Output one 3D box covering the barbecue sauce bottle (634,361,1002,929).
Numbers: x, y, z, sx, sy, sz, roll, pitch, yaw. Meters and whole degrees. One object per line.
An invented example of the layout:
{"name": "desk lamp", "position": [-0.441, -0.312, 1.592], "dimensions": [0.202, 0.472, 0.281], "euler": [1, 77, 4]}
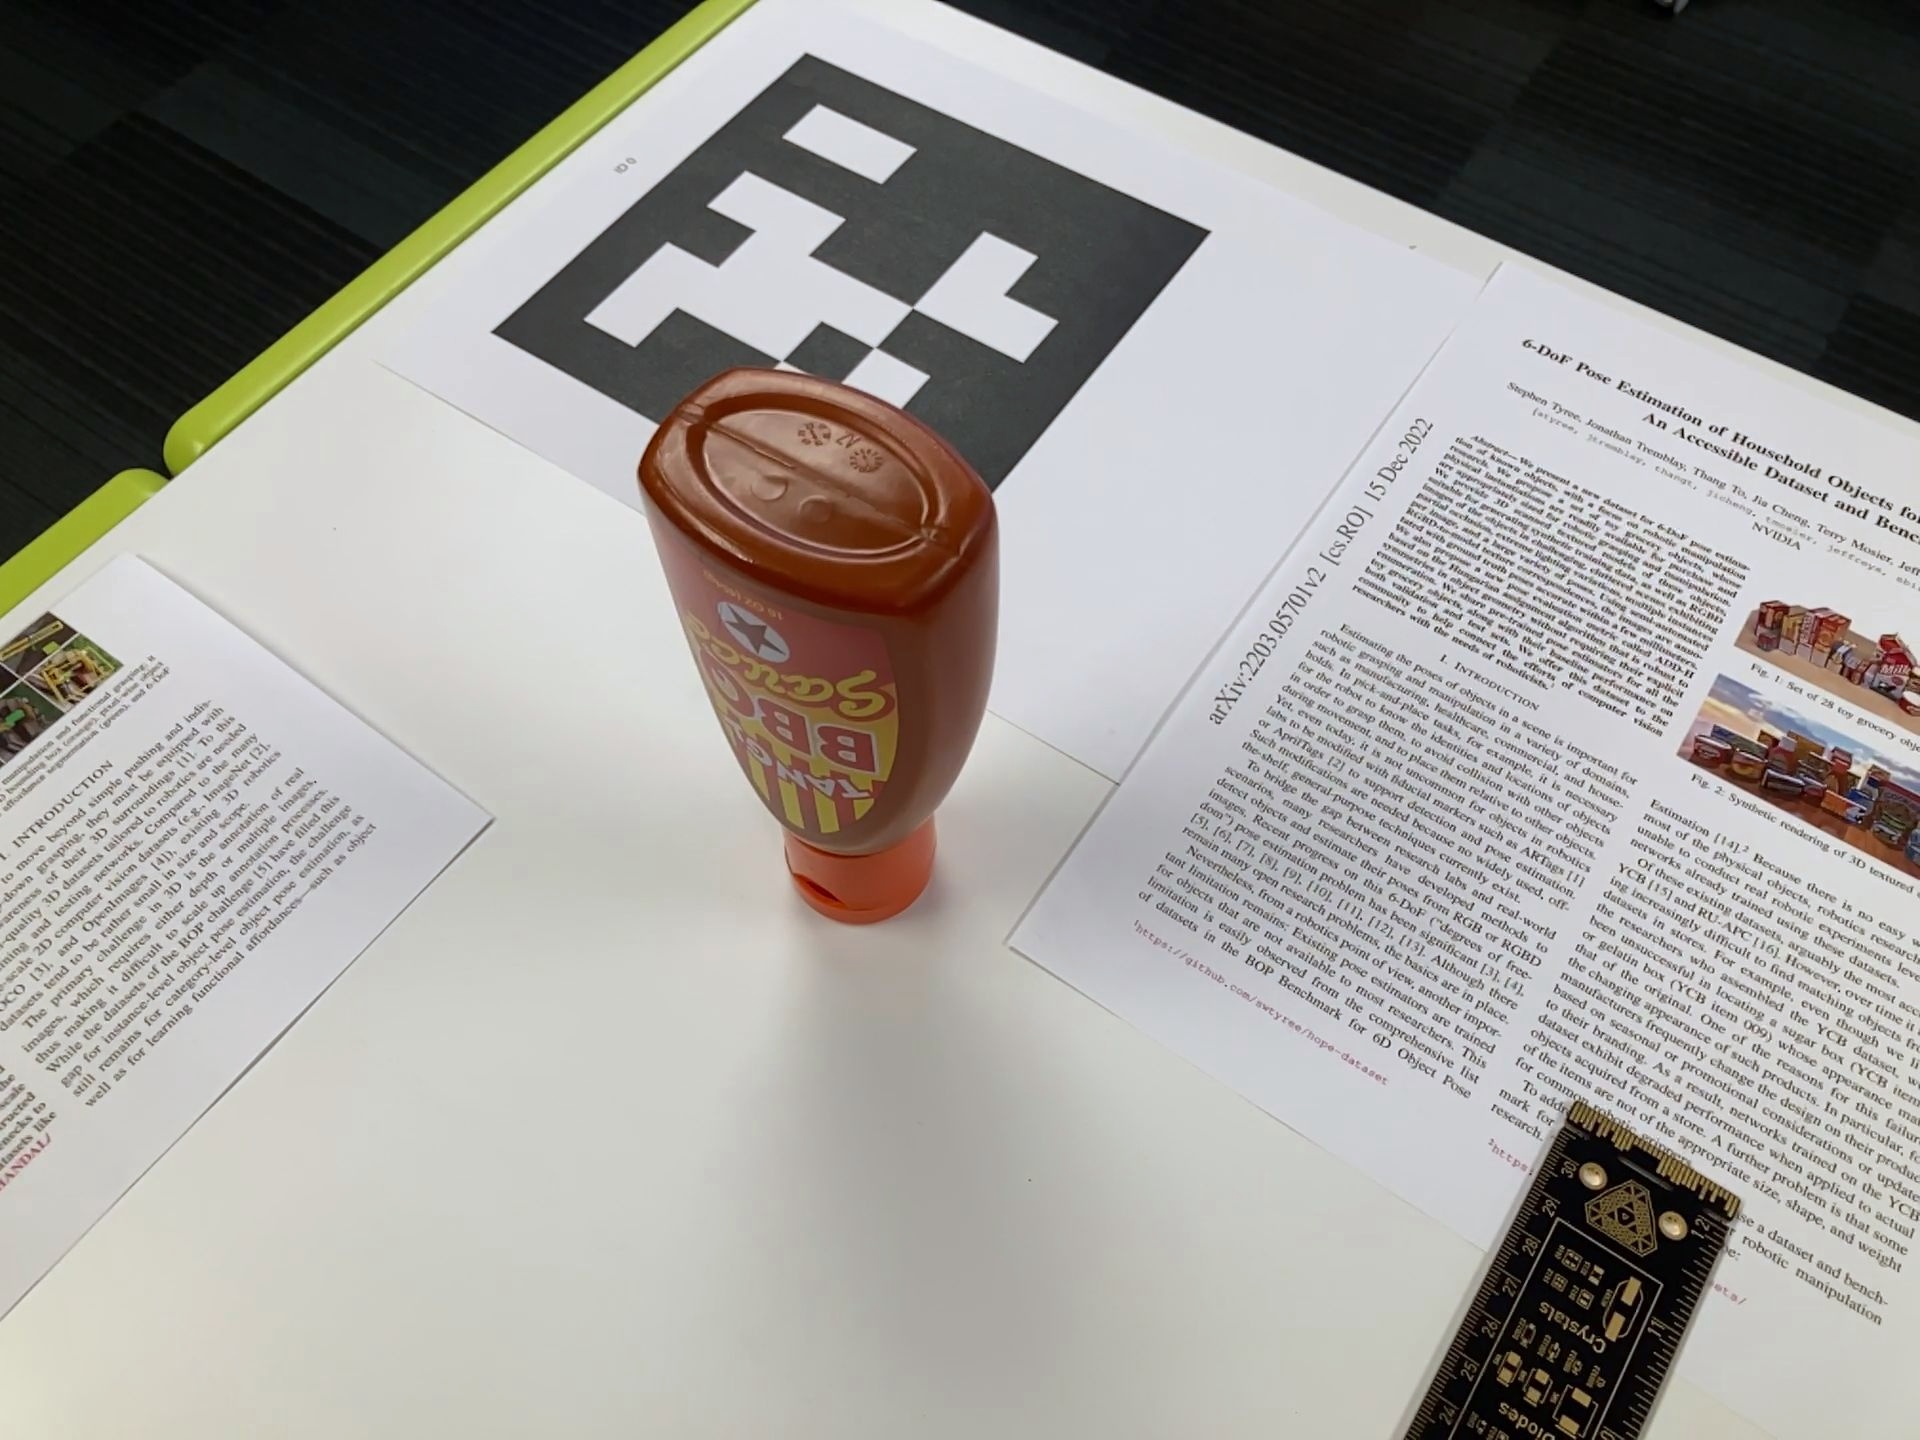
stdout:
{"name": "barbecue sauce bottle", "position": [-0.024, -0.004, 0.326], "dimensions": [0.065, 0.148, 0.043], "euler": [29, 63, 16]}
